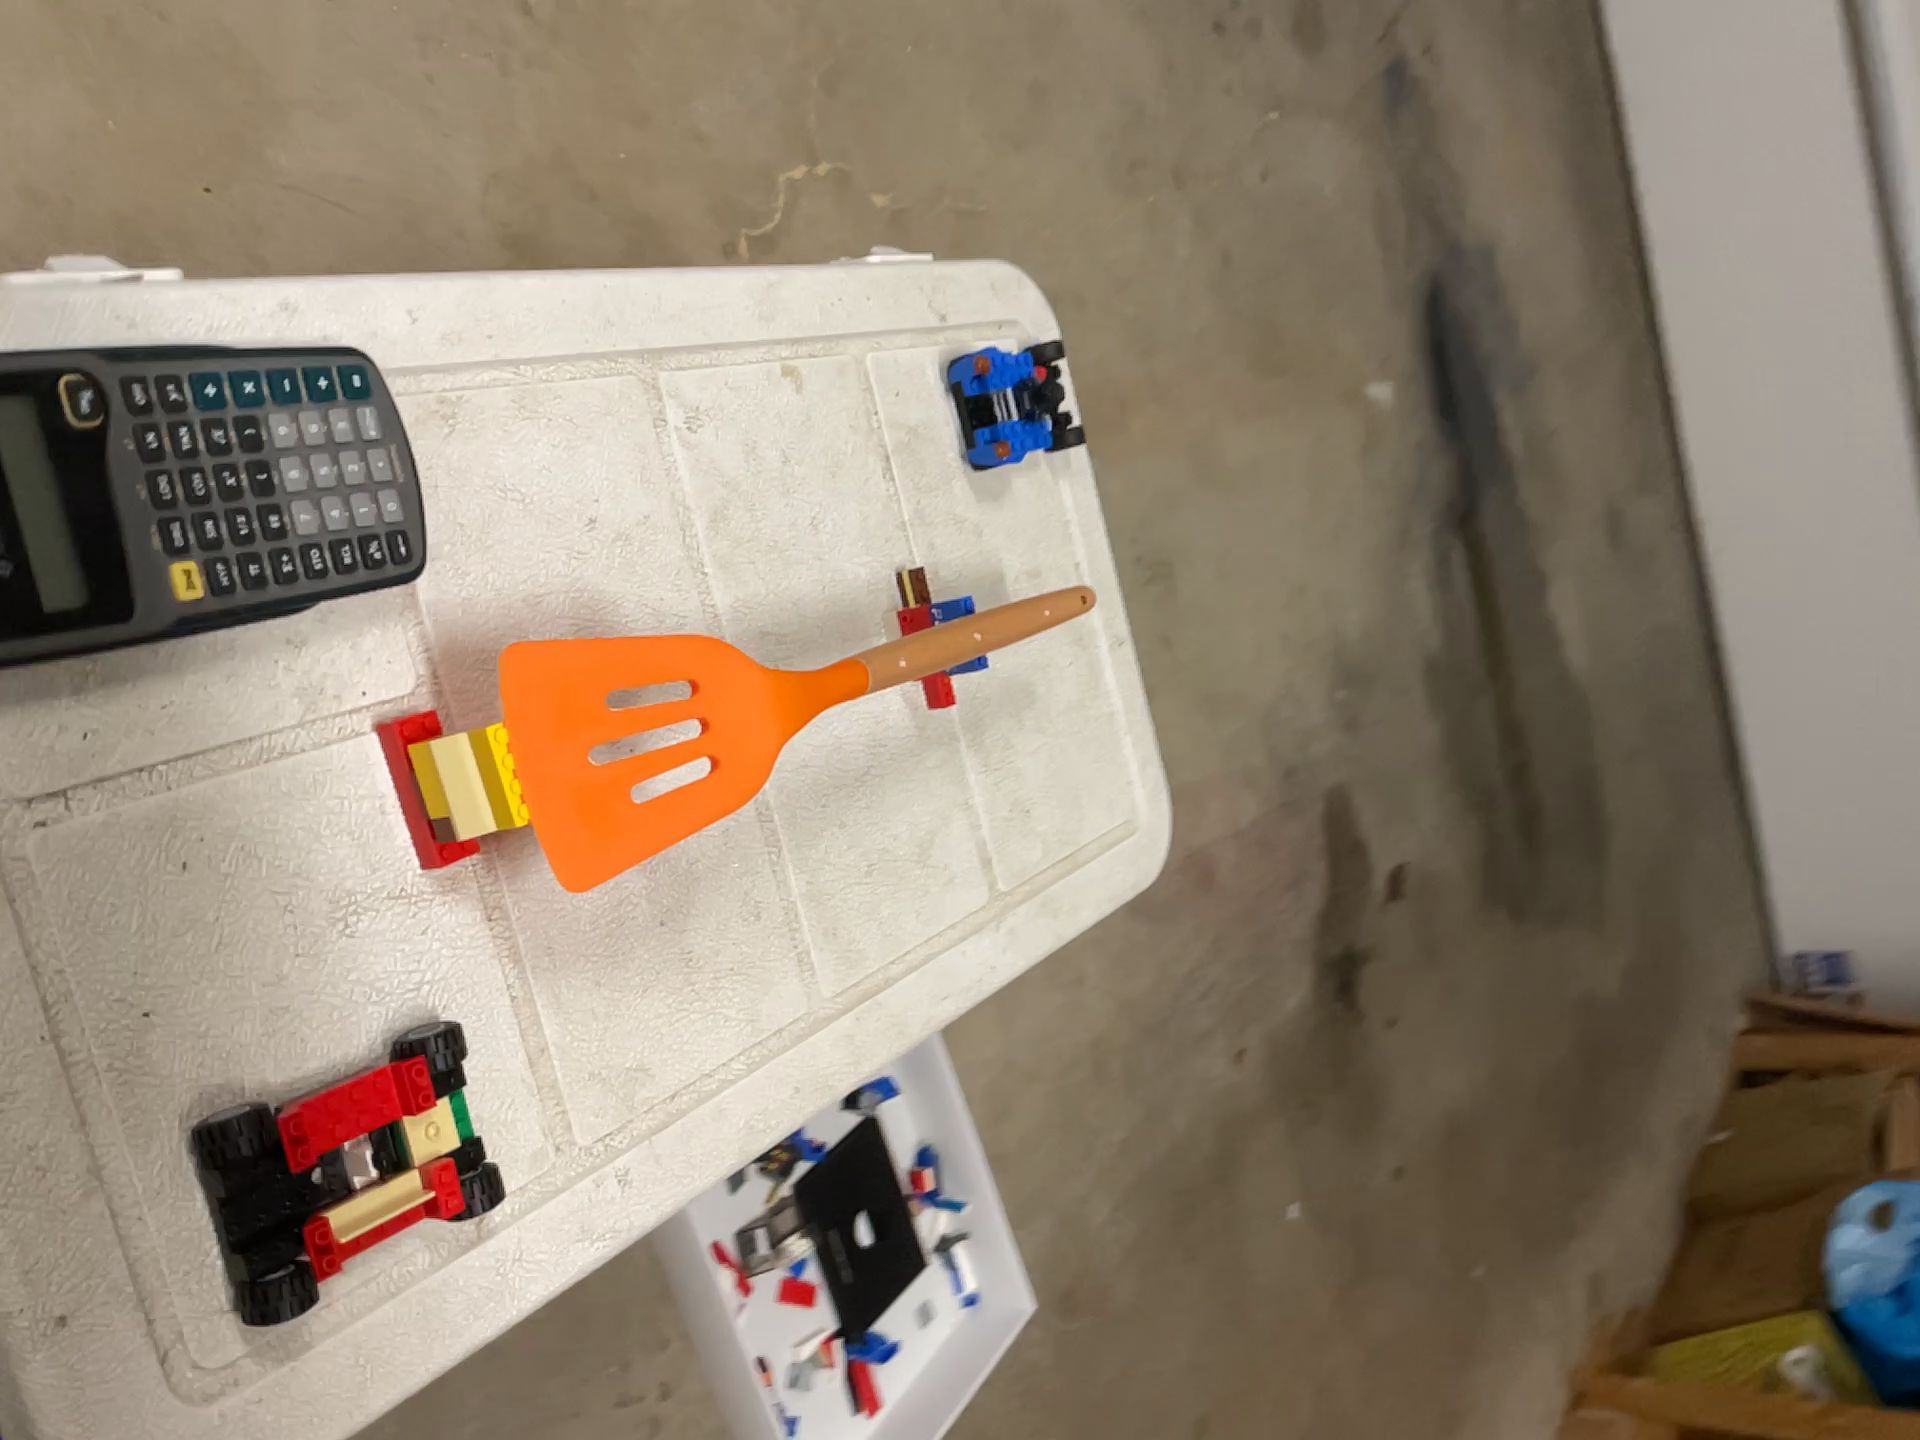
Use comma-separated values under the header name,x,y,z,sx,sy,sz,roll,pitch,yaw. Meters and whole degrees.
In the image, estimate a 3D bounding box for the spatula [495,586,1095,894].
name,x,y,z,sx,sy,sz,roll,pitch,yaw
spatula,-0.035,-0.020,0.609,0.323,0.041,0.081,-22,100,-55
